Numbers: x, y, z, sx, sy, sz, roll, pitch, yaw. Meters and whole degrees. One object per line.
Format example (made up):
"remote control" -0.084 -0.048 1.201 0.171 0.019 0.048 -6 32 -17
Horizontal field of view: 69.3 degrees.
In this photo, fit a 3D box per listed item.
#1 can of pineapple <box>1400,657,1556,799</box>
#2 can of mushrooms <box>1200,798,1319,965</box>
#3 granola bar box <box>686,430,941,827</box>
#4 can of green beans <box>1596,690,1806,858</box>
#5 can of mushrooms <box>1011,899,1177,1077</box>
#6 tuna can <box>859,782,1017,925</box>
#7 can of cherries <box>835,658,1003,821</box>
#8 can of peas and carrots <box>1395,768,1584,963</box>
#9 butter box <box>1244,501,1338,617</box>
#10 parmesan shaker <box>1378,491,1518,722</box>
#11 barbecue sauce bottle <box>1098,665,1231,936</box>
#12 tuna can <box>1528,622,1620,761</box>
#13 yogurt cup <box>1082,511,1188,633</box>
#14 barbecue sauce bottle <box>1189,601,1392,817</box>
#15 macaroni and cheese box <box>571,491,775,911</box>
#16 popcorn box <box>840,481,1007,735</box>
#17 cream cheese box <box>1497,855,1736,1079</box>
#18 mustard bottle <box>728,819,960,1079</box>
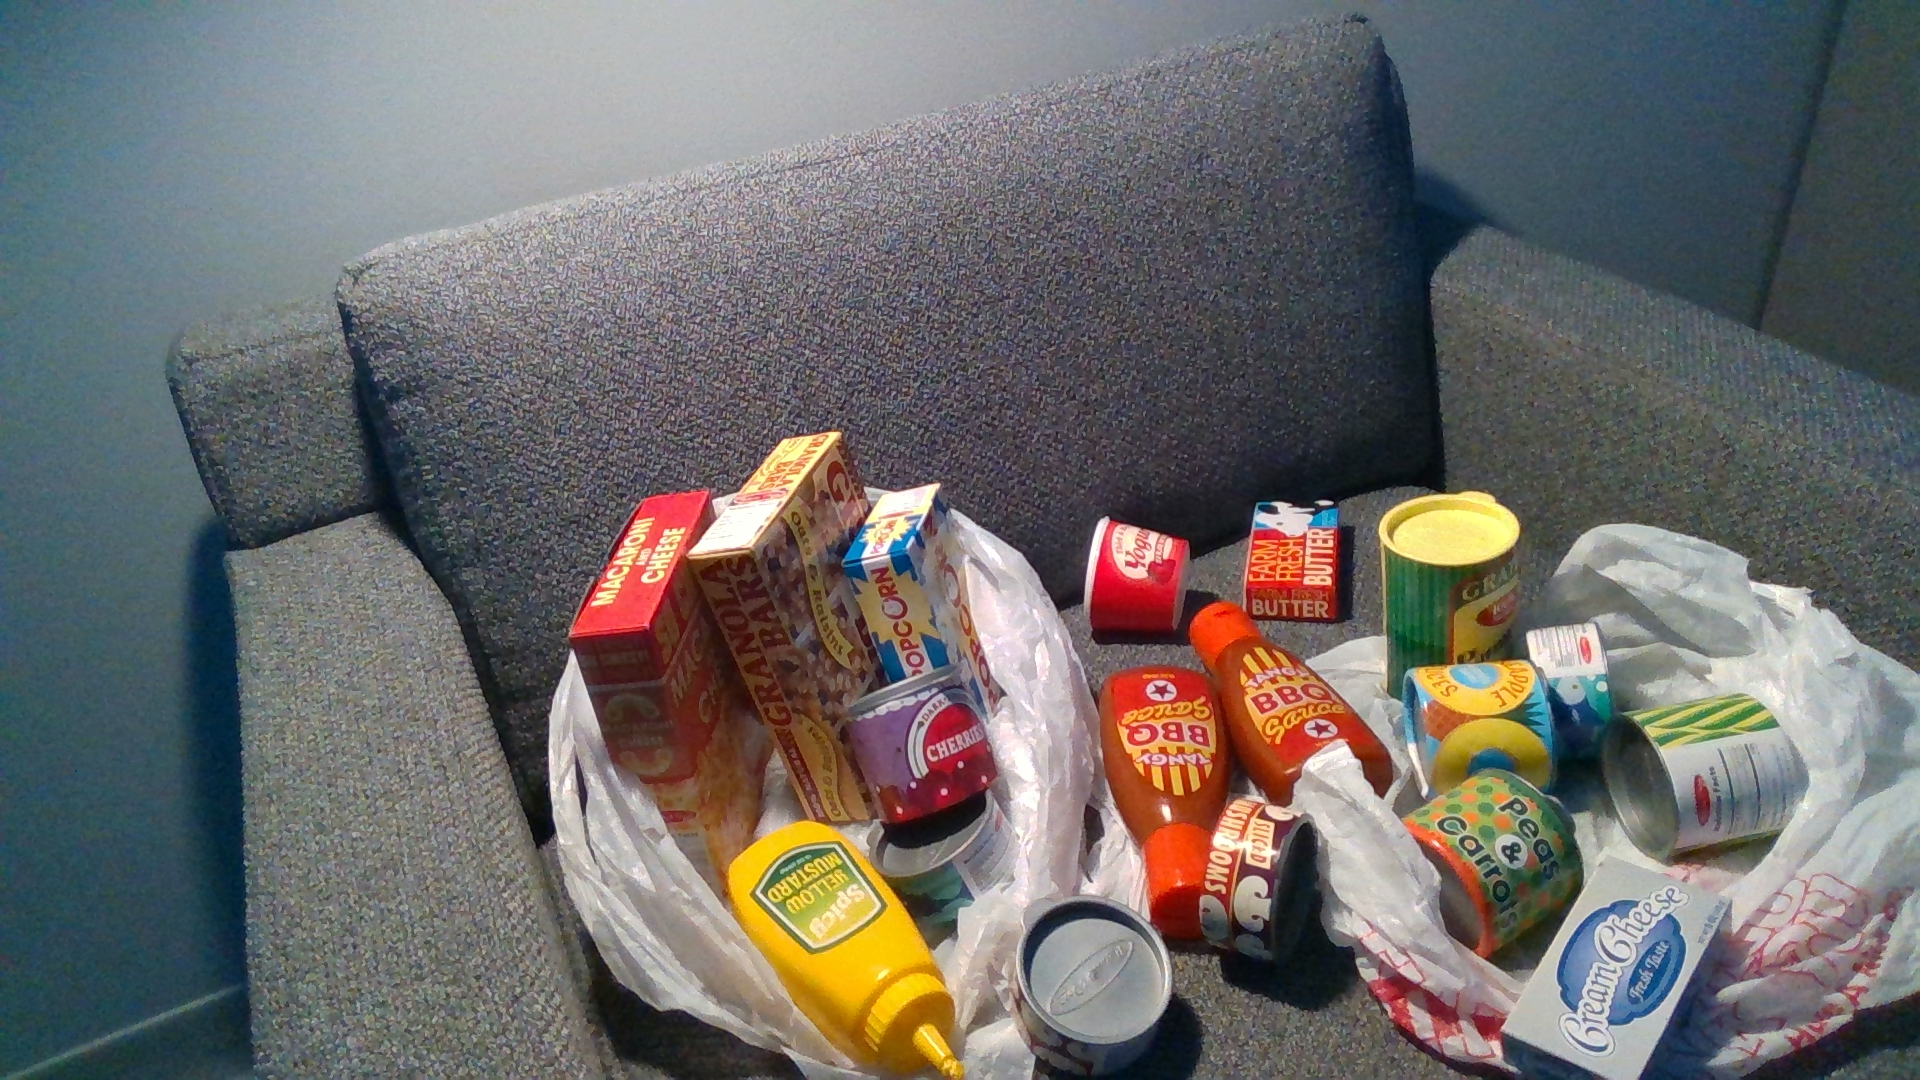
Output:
"can of pineapple" 0.249 0.090 0.672 0.058 0.070 0.071 -5 31 7
"can of mushrooms" 0.131 0.147 0.606 0.033 0.070 0.071 9 35 30
"granola bar box" -0.067 0.043 0.718 0.039 0.165 0.125 -10 26 23
"can of green beans" 0.333 0.104 0.625 0.058 0.071 0.071 -10 31 -1
"can of mushrooms" 0.054 0.187 0.585 0.071 0.033 0.071 4 42 -4
"tuna can" -0.011 0.146 0.651 0.071 0.032 0.071 -24 20 10
"can of cherries" -0.018 0.095 0.668 0.071 0.058 0.071 -20 3 1
"can of peas and carrots" 0.223 0.140 0.598 0.059 0.070 0.071 -23 34 -22
"butter box" 0.204 0.011 0.852 0.053 0.024 0.104 -1 30 17
"parmesan shaker" 0.256 0.036 0.722 0.071 0.102 0.071 -9 29 6
"barbecue sauce bottle" 0.103 0.123 0.676 0.065 0.043 0.149 0 34 1
"tuna can" 0.301 0.077 0.683 0.033 0.070 0.071 -9 30 20
"yogurt cup" 0.104 0.024 0.817 0.054 0.072 0.073 8 34 12
"barbecue sauce bottle" 0.163 0.085 0.728 0.065 0.043 0.149 -8 30 -11
"macaroni and cheese box" -0.135 0.079 0.680 0.040 0.165 0.124 -6 29 7
"popcorn box" -0.014 0.044 0.736 0.038 0.126 0.085 -12 21 20
"cream cheese box" 0.262 0.175 0.552 0.053 0.024 0.104 13 43 44
"mustard bottle" -0.043 0.182 0.603 0.065 0.048 0.160 -28 35 -24
